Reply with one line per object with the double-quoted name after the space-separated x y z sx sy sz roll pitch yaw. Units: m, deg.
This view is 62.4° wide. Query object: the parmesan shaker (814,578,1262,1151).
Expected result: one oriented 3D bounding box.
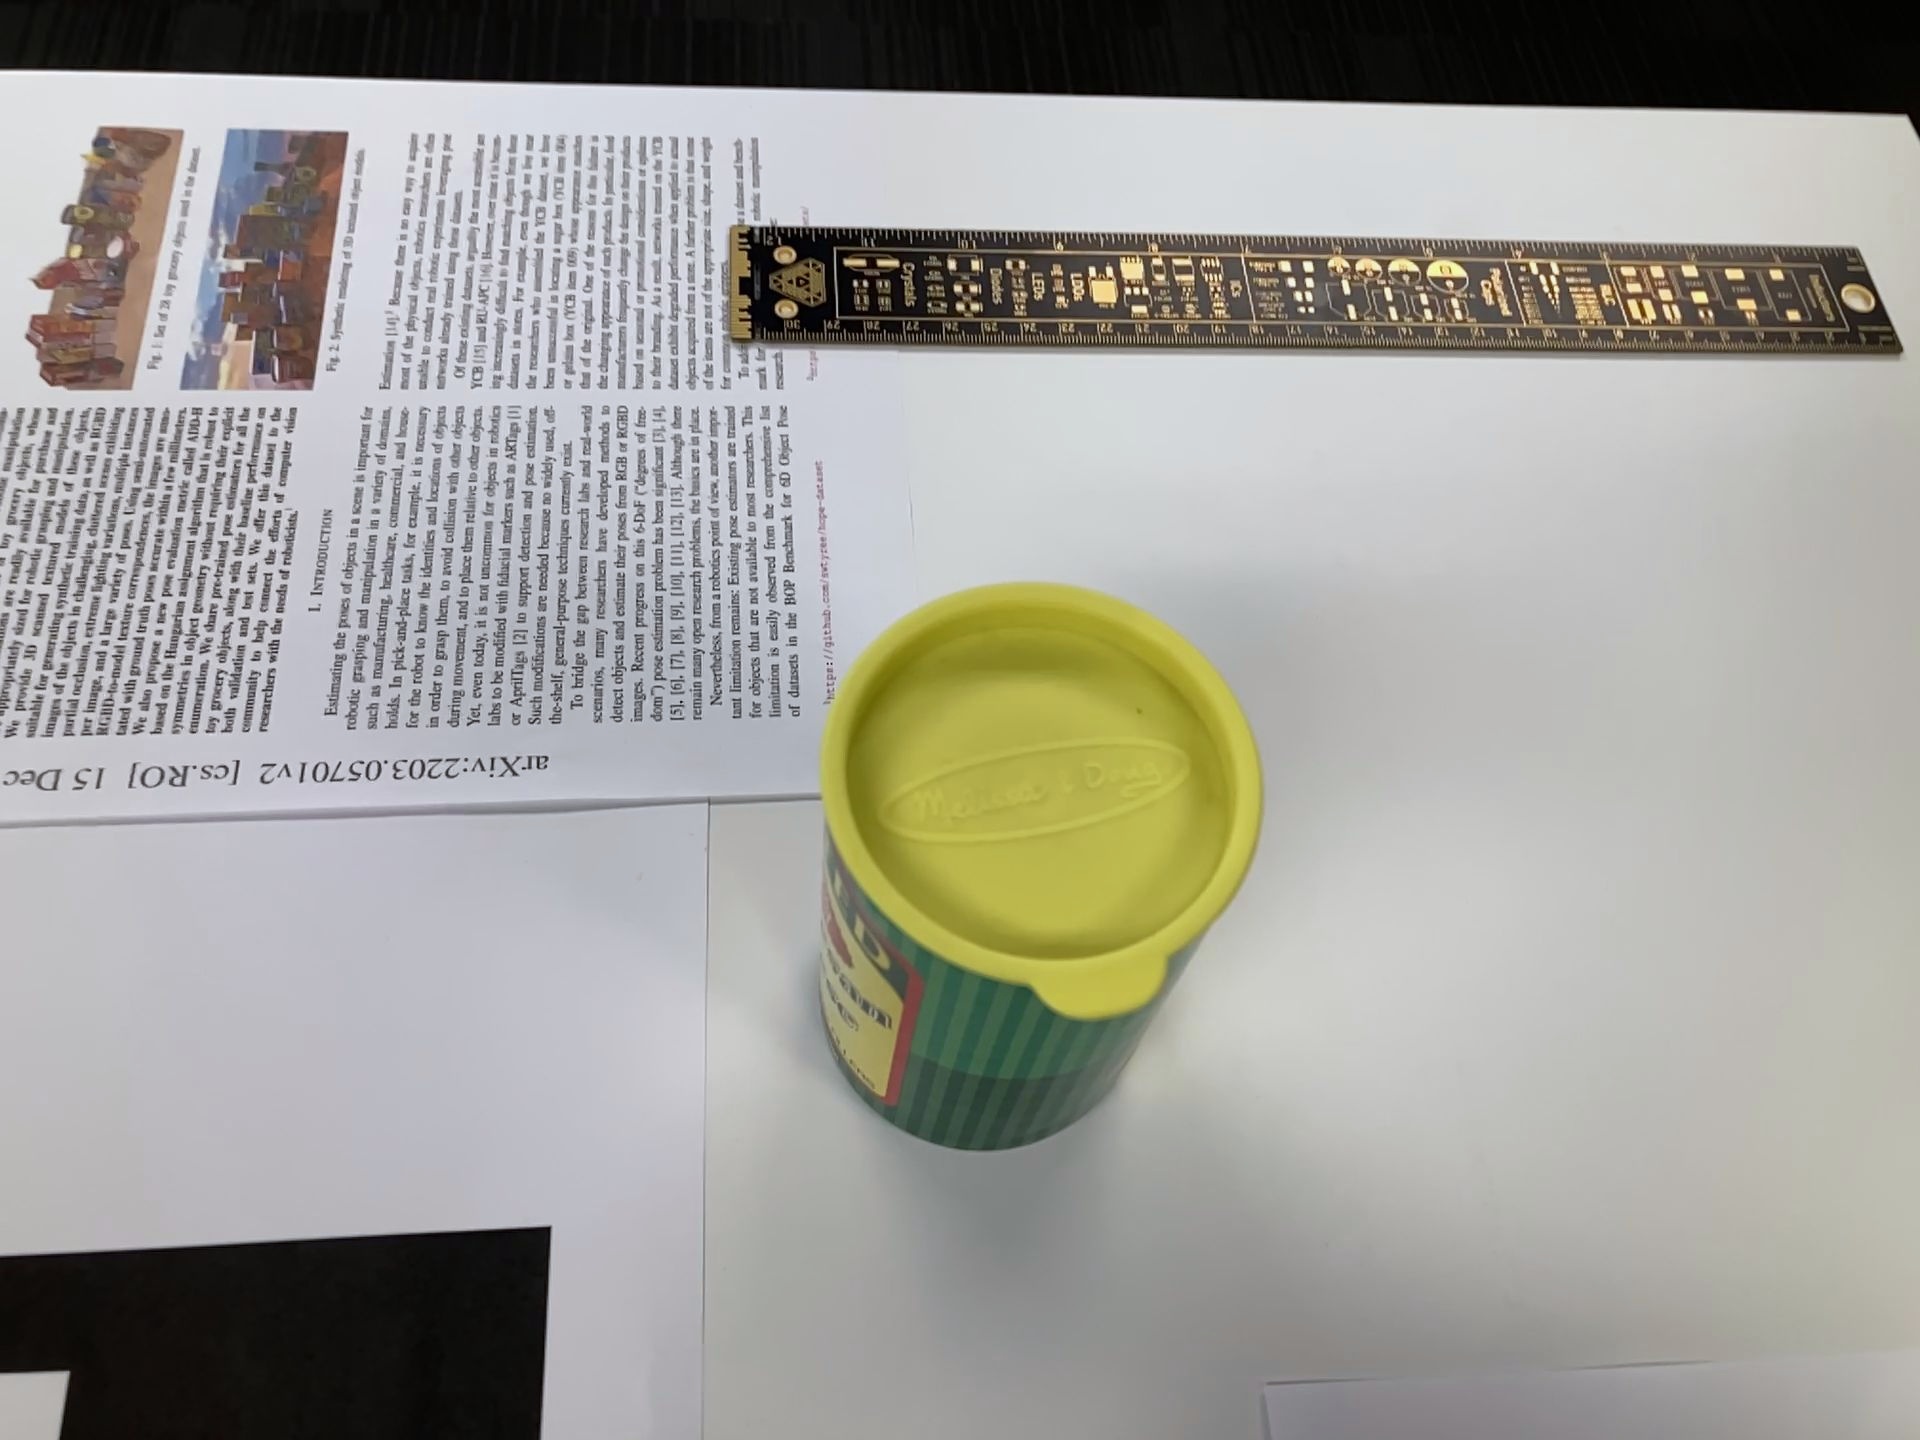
0.008 0.034 0.276 0.071 0.103 0.071 2 61 -4 "parmesan shaker"
